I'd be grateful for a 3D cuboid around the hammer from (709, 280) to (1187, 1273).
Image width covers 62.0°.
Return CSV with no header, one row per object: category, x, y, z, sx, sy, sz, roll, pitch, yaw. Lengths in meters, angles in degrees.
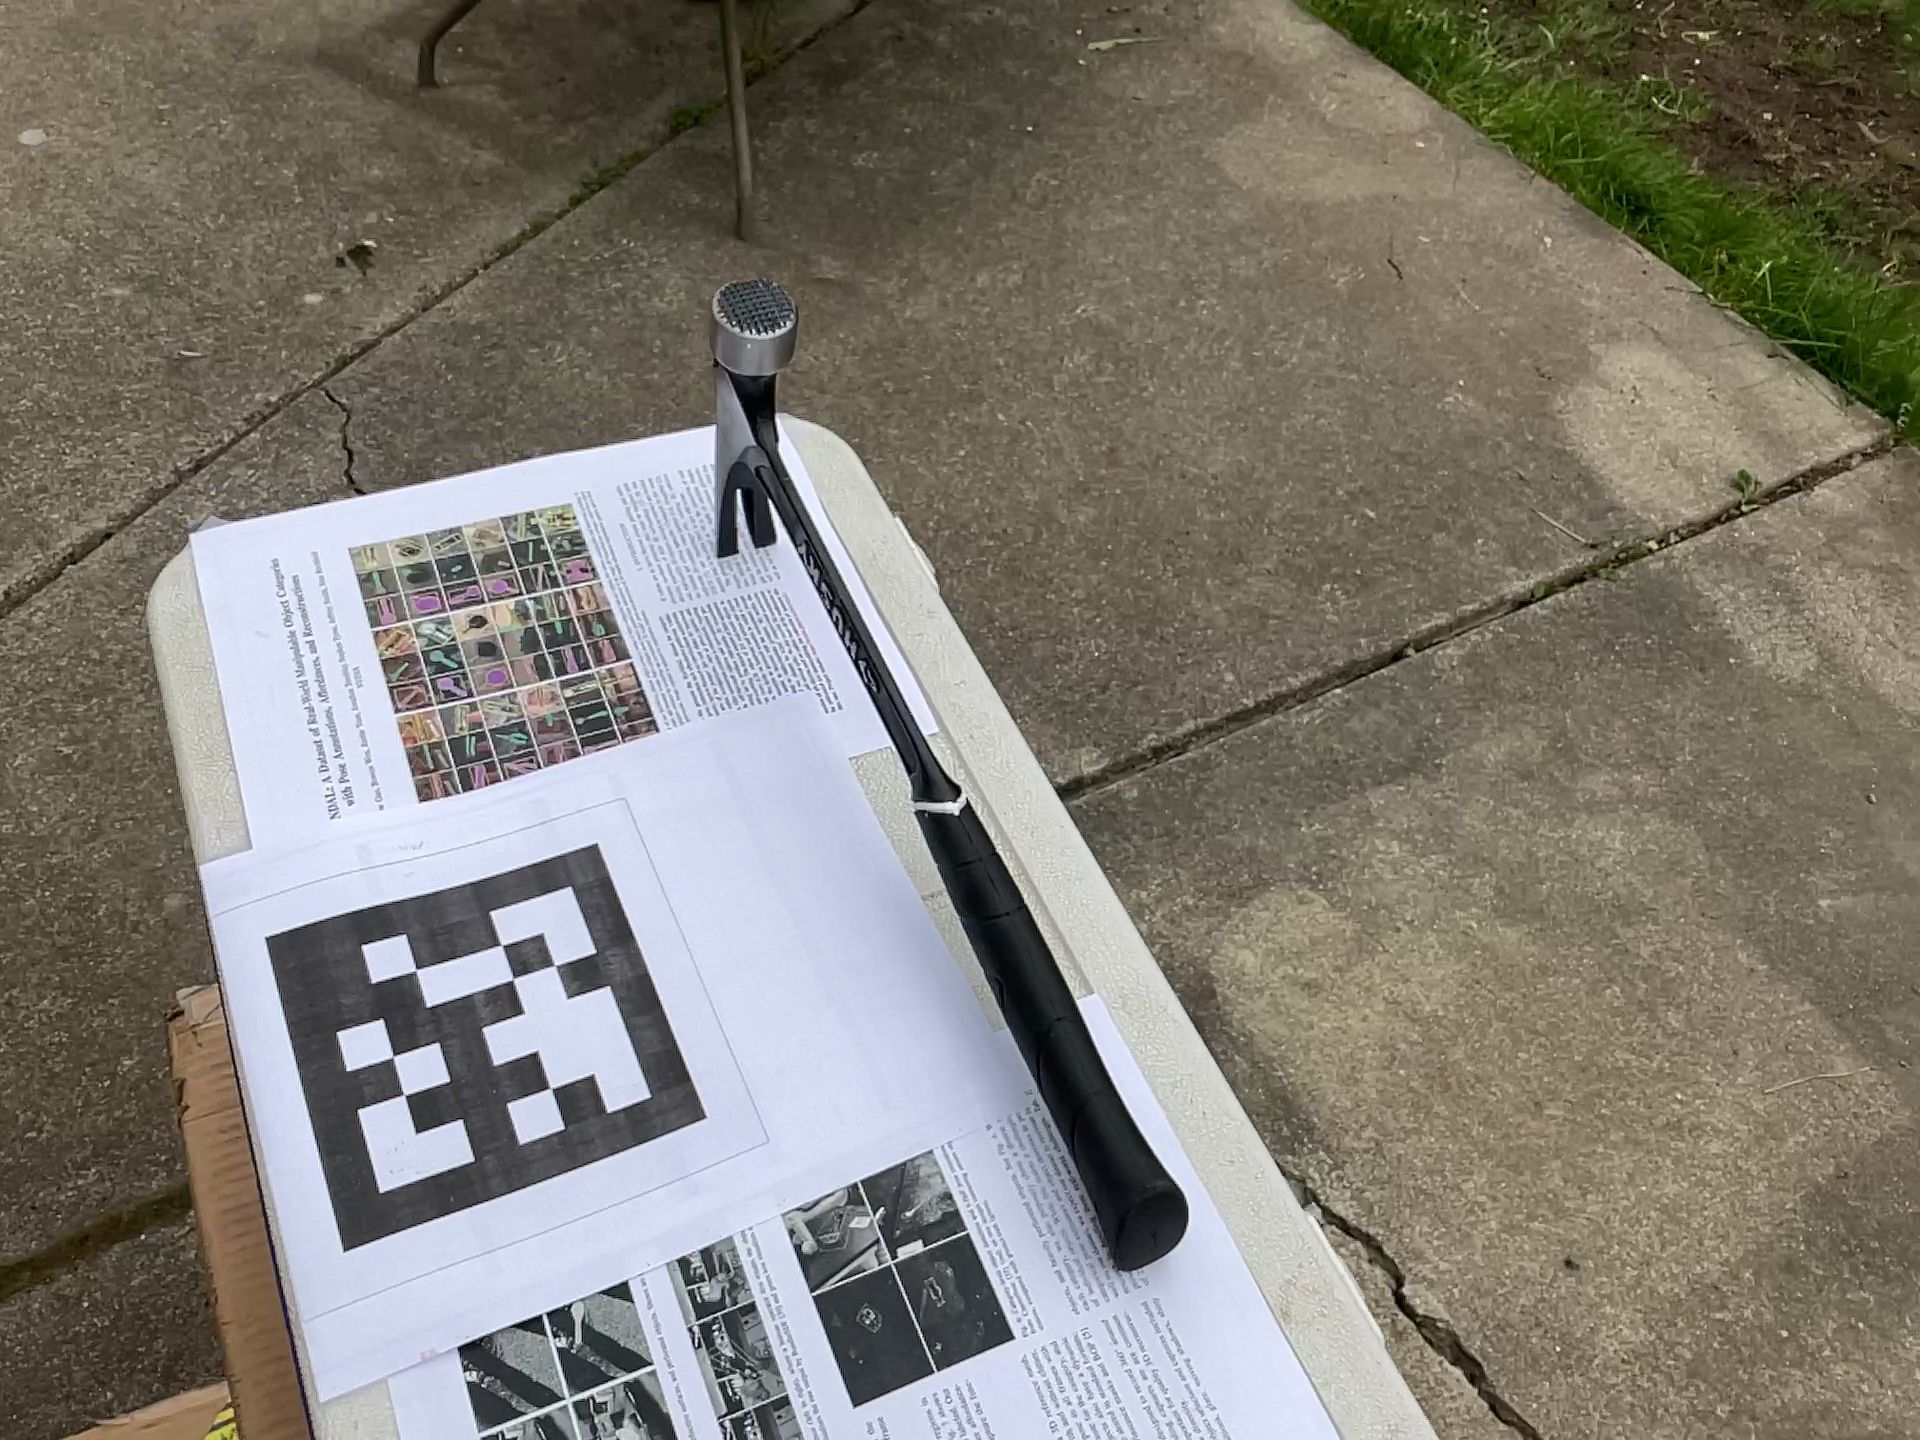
hammer,-0.019,0.021,0.639,0.036,0.149,0.409,-17,65,-21
